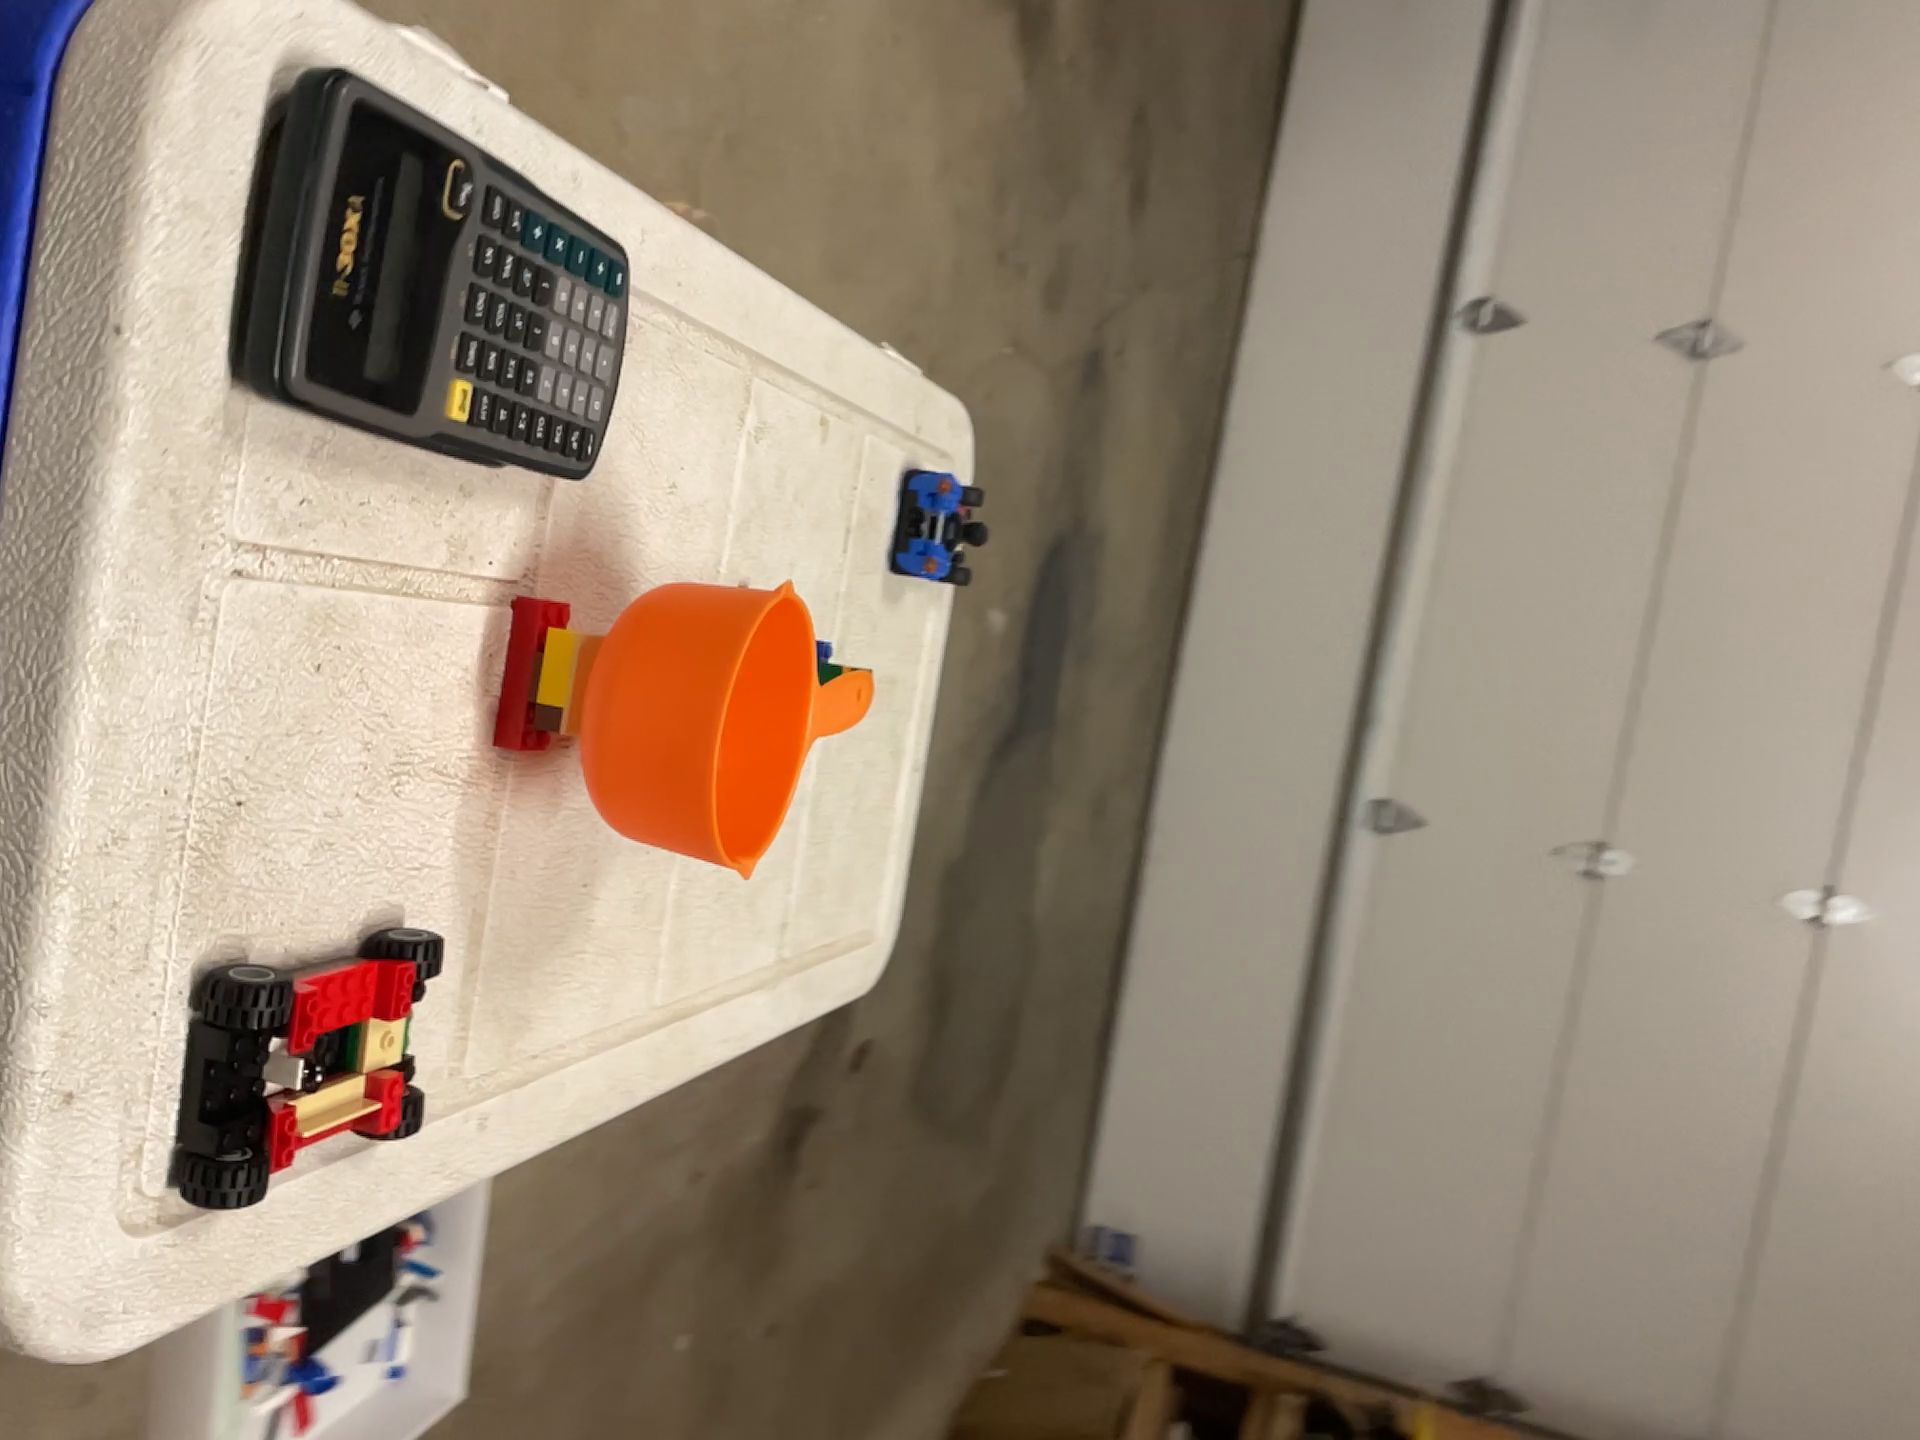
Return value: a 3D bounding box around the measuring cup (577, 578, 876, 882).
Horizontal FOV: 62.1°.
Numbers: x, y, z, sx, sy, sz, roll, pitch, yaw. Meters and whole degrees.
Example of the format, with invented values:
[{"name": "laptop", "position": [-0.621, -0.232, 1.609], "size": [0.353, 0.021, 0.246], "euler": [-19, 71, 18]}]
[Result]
[{"name": "measuring cup", "position": [-0.073, -0.005, 0.540], "size": [0.173, 0.052, 0.095], "euler": [-26, 126, -76]}]
